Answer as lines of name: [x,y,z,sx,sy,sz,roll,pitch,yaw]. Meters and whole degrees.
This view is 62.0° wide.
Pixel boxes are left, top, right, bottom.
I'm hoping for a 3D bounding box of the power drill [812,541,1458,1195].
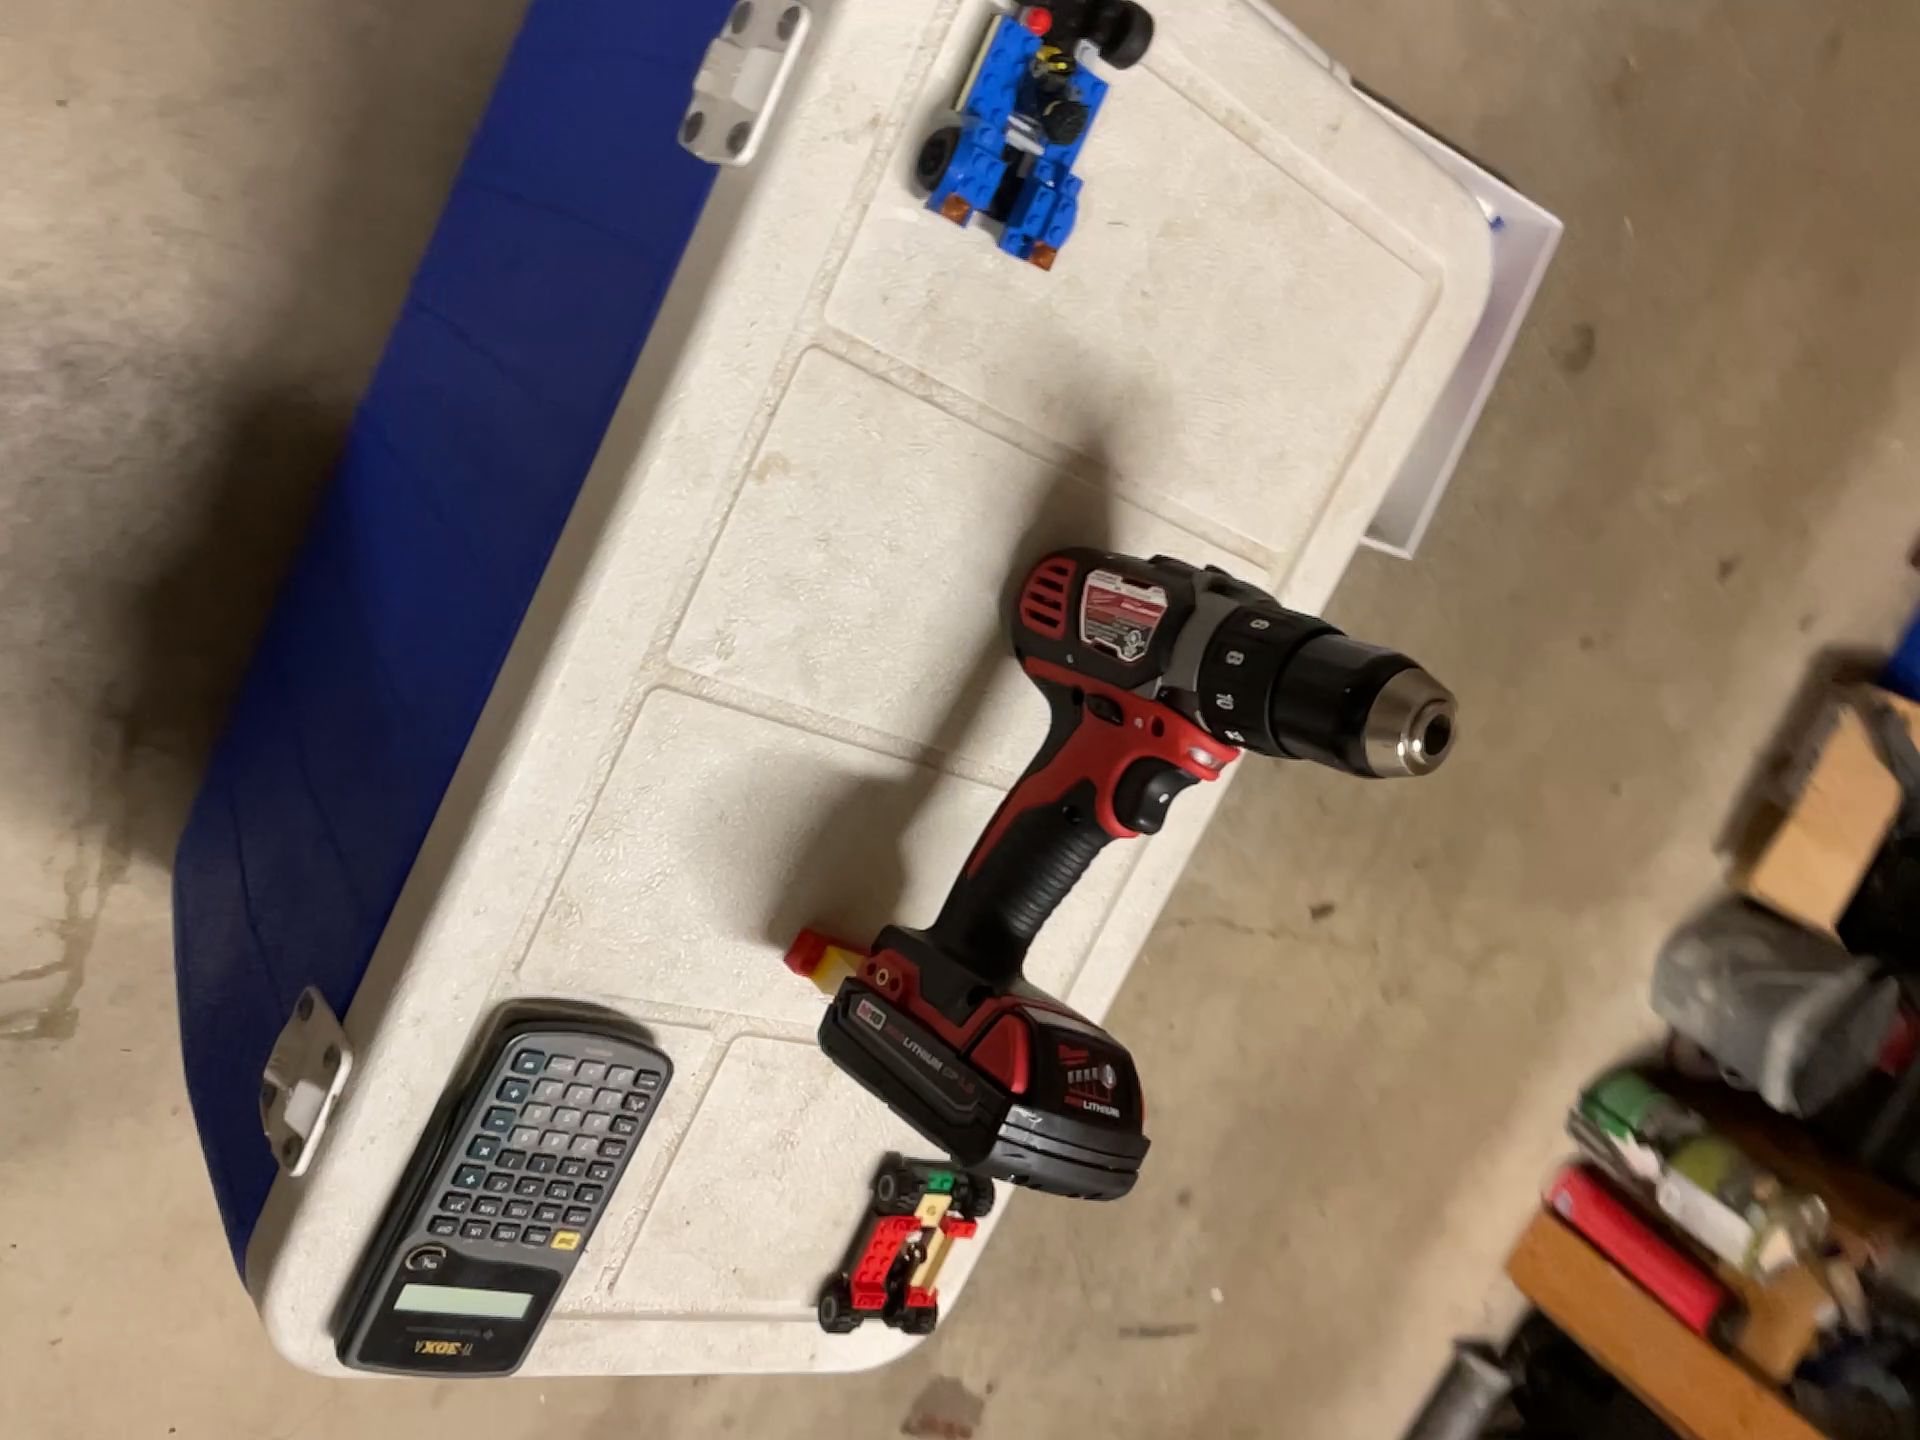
power drill: [0.059,0.051,0.571,0.080,0.188,0.227,26,88,-41]
